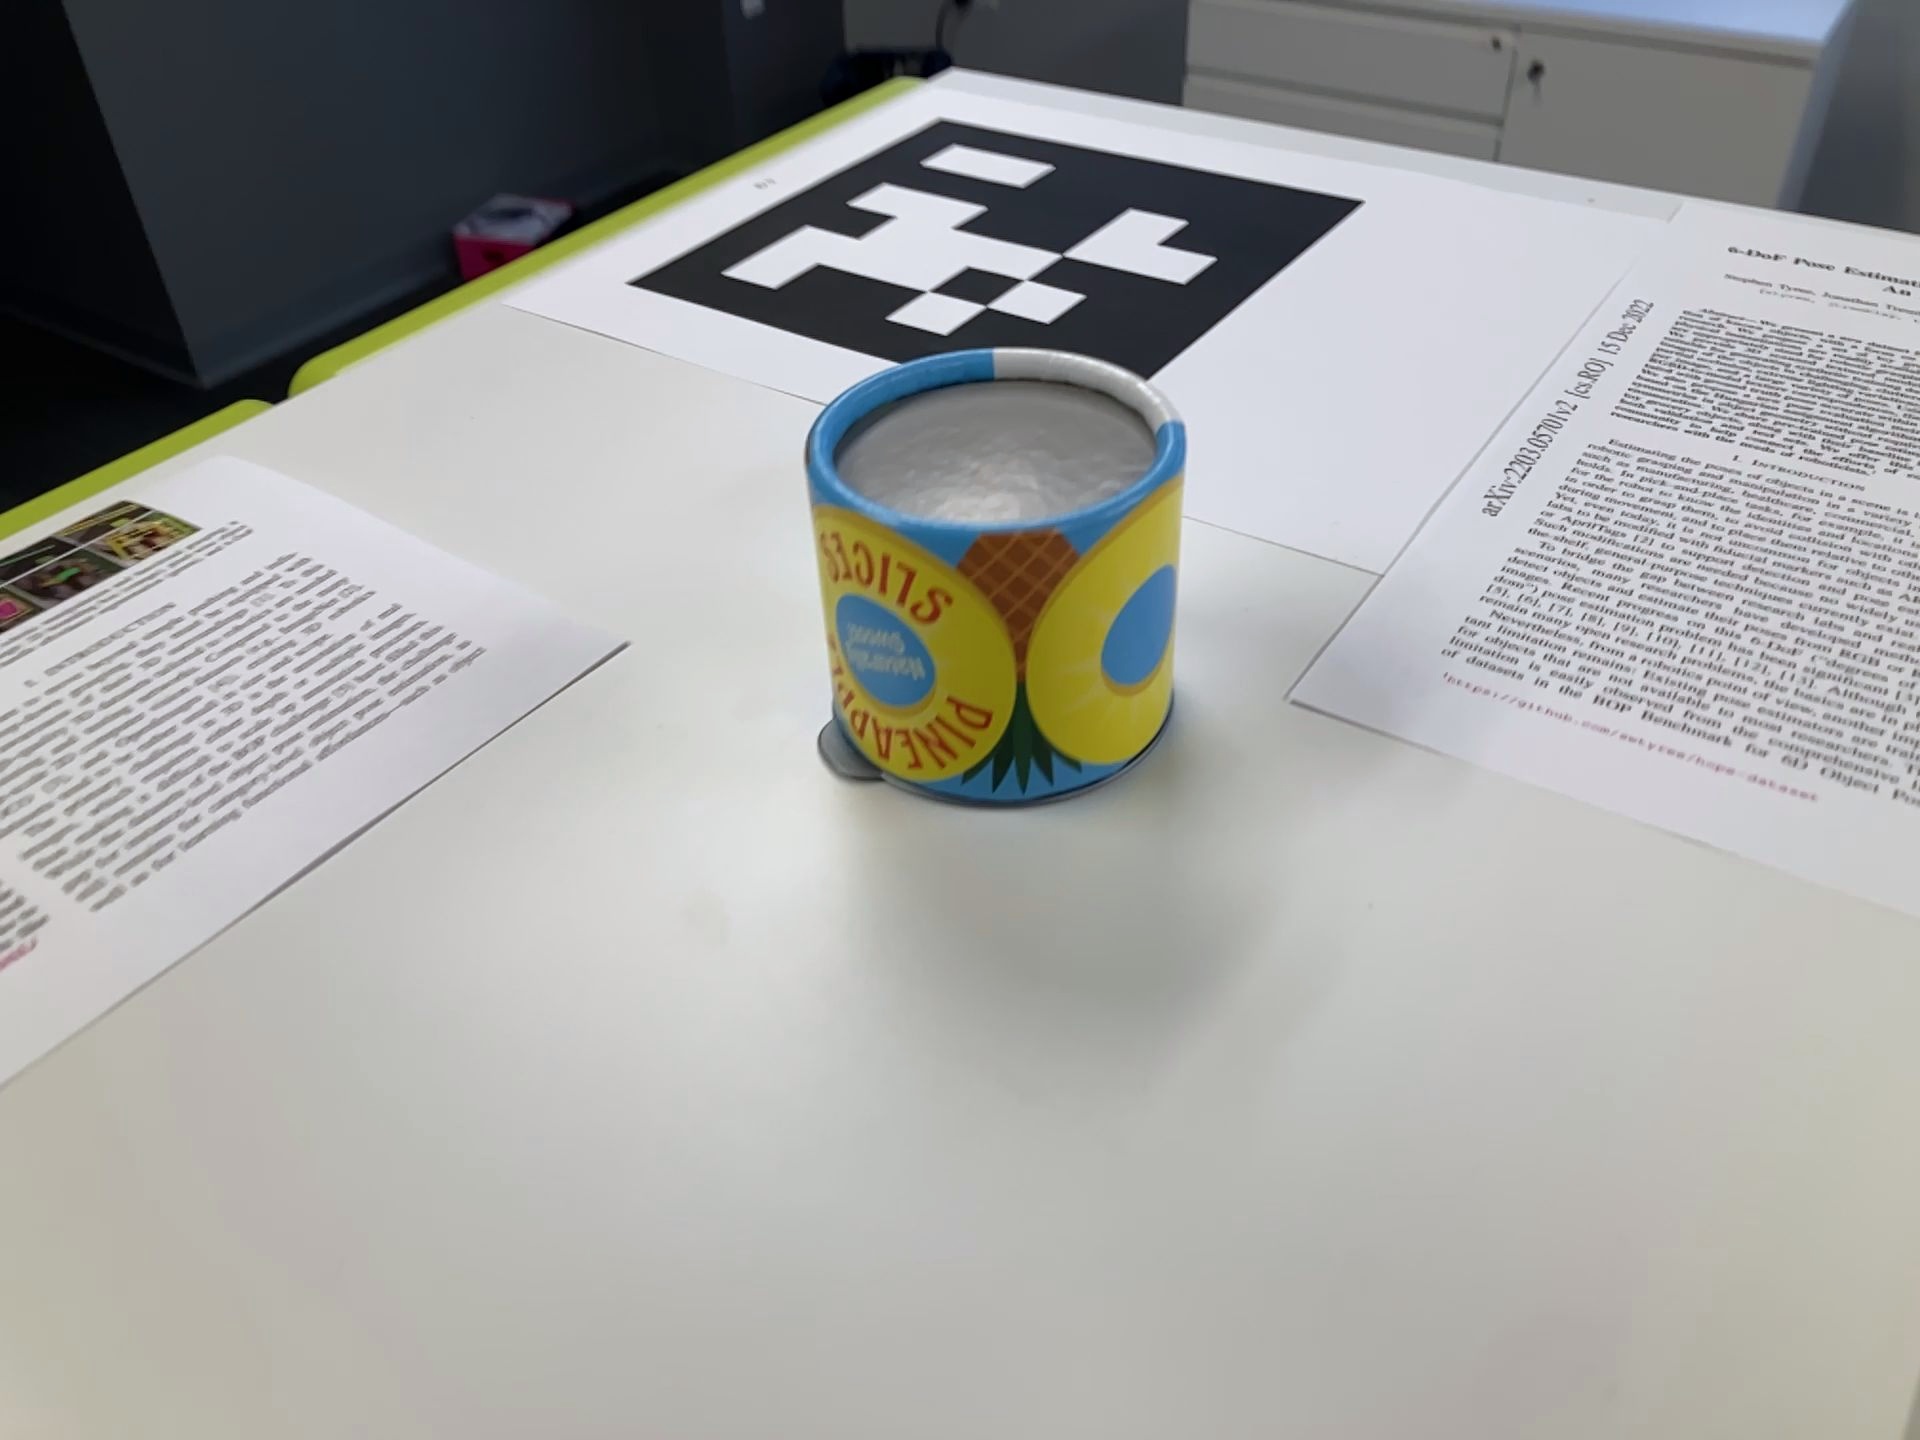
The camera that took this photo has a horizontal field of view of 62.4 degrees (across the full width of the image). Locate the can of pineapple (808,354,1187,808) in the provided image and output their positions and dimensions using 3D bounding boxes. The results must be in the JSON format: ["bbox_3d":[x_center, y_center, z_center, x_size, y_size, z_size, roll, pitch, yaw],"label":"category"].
[{"bbox_3d":[0.006,-0.026,0.289,0.071,0.058,0.071,-2,39,2],"label":"can of pineapple"}]
